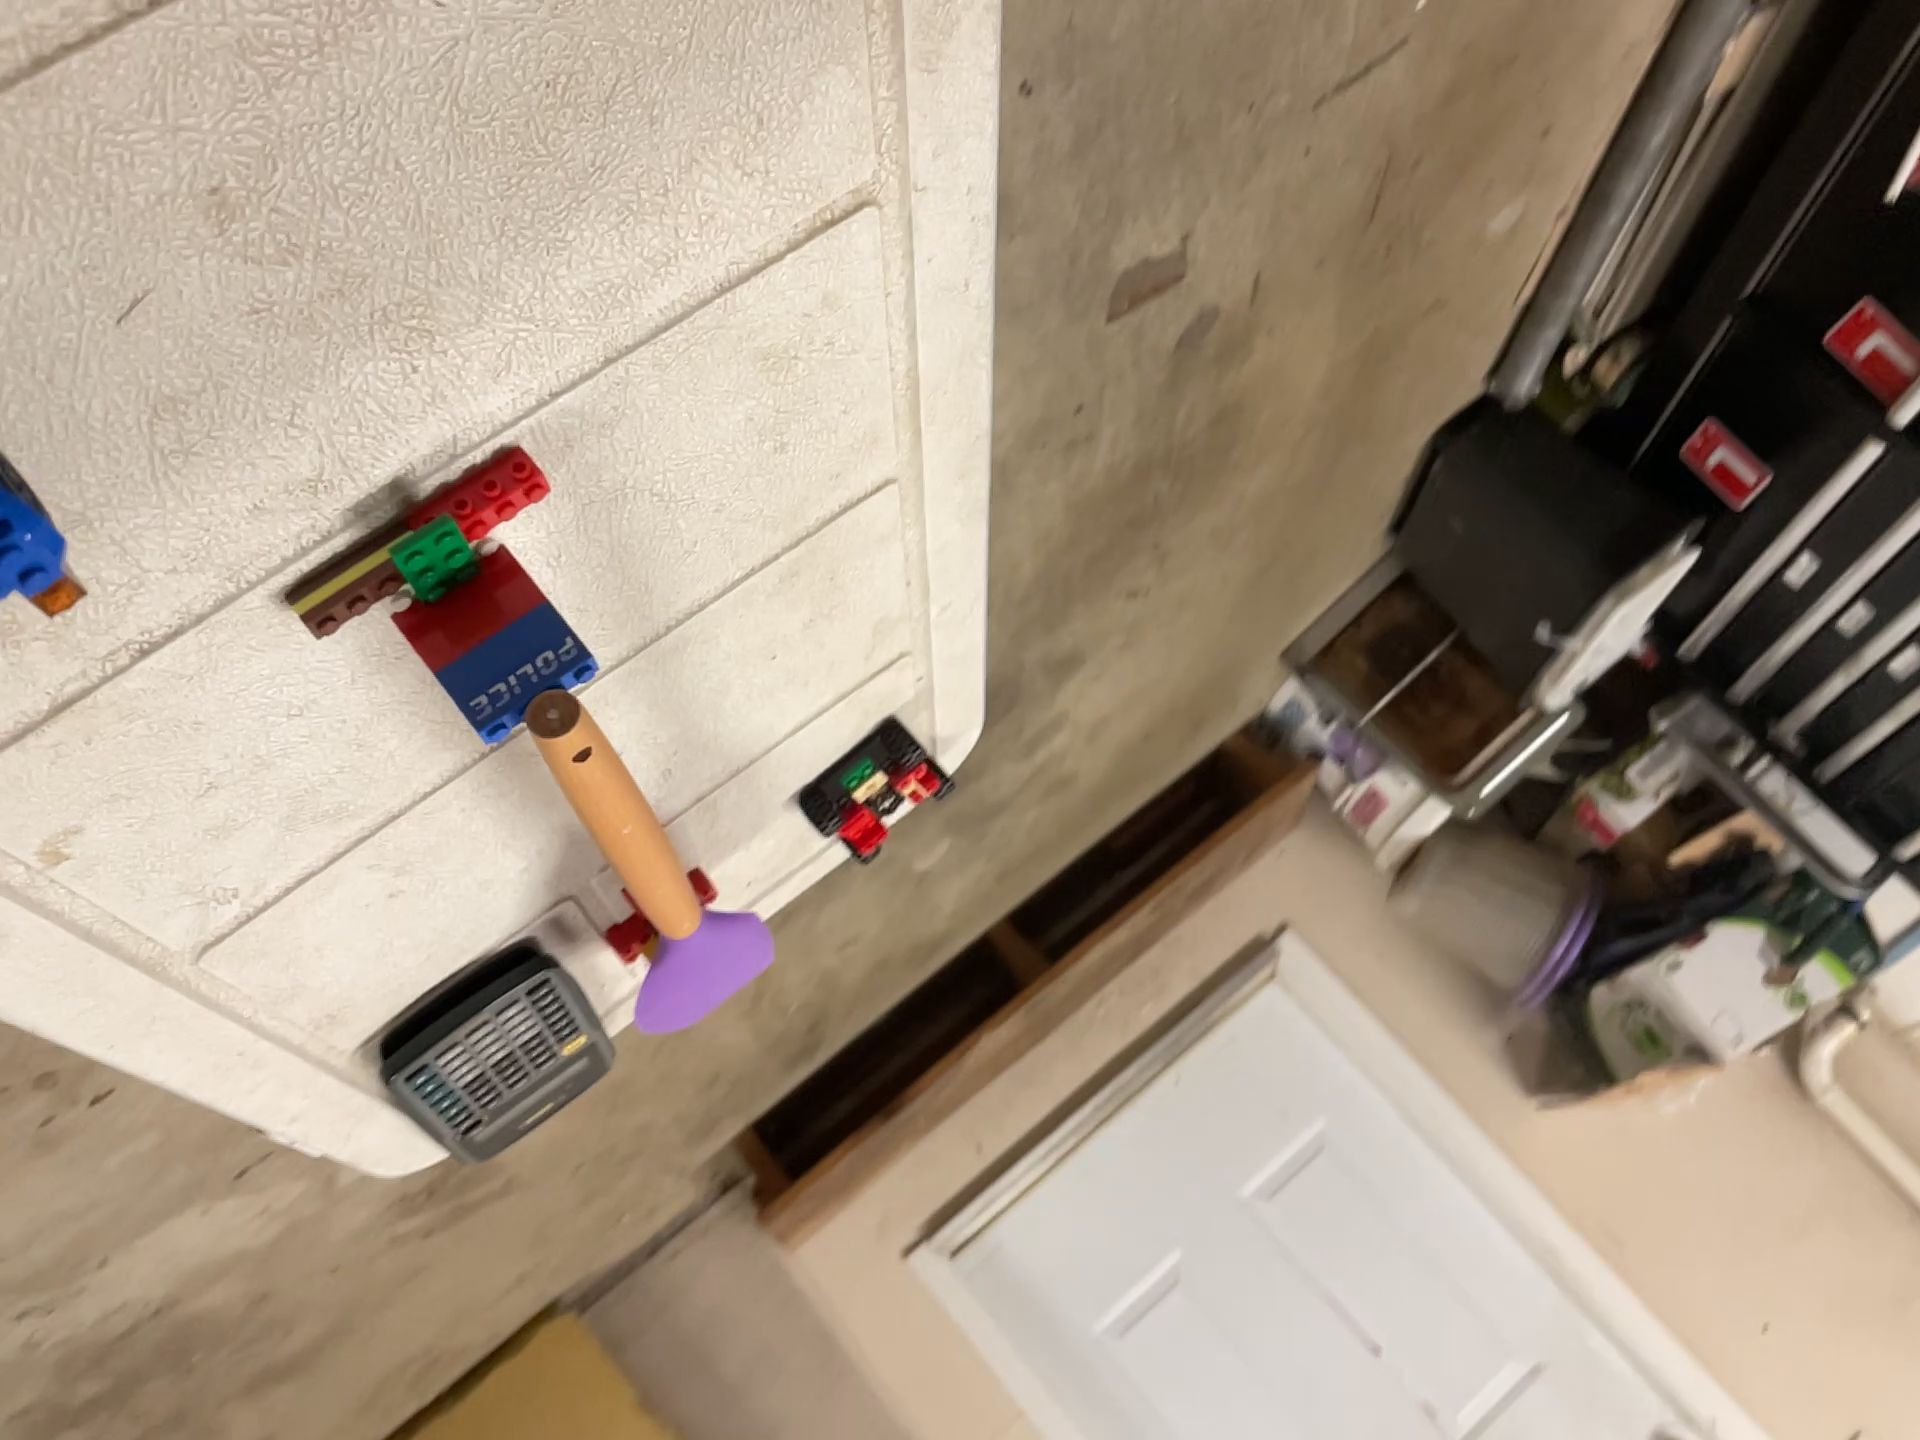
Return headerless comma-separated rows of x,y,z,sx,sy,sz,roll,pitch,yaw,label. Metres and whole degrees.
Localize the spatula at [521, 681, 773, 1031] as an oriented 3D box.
-0.096,0.057,0.510,0.060,0.018,0.315,-38,163,-15,spatula
